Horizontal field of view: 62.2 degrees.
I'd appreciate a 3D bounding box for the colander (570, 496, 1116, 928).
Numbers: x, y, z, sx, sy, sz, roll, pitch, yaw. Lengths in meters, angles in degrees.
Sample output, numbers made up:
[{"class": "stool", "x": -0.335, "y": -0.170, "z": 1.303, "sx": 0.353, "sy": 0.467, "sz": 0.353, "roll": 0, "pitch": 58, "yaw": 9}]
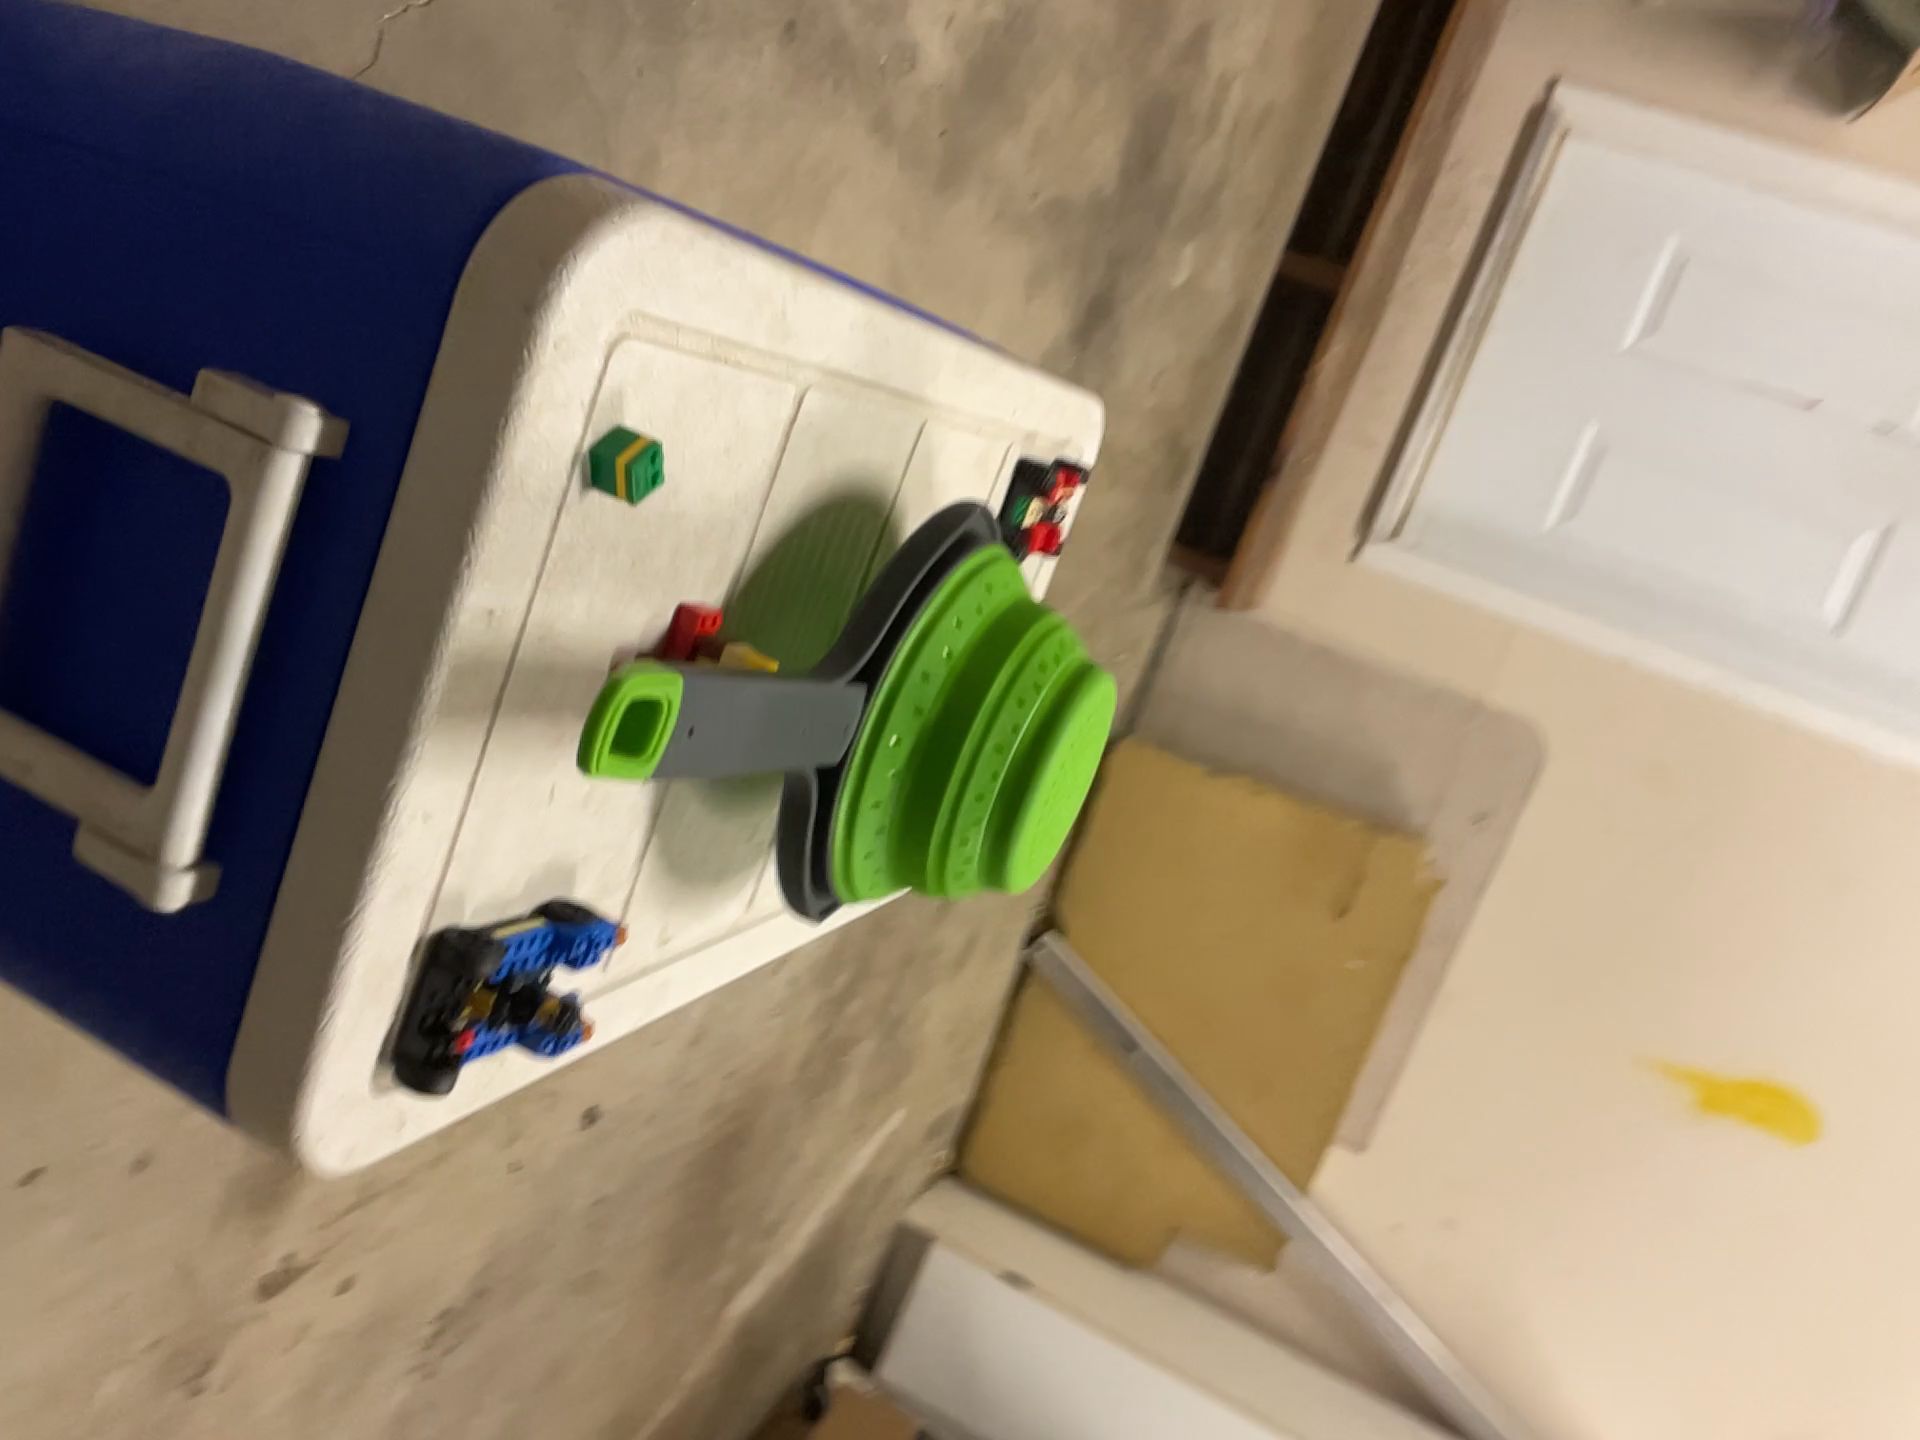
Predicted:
[{"class": "colander", "x": -0.017, "y": 0.013, "z": 0.628, "sx": 0.204, "sy": 0.094, "sz": 0.397, "roll": -69, "pitch": 165, "yaw": 7}]
